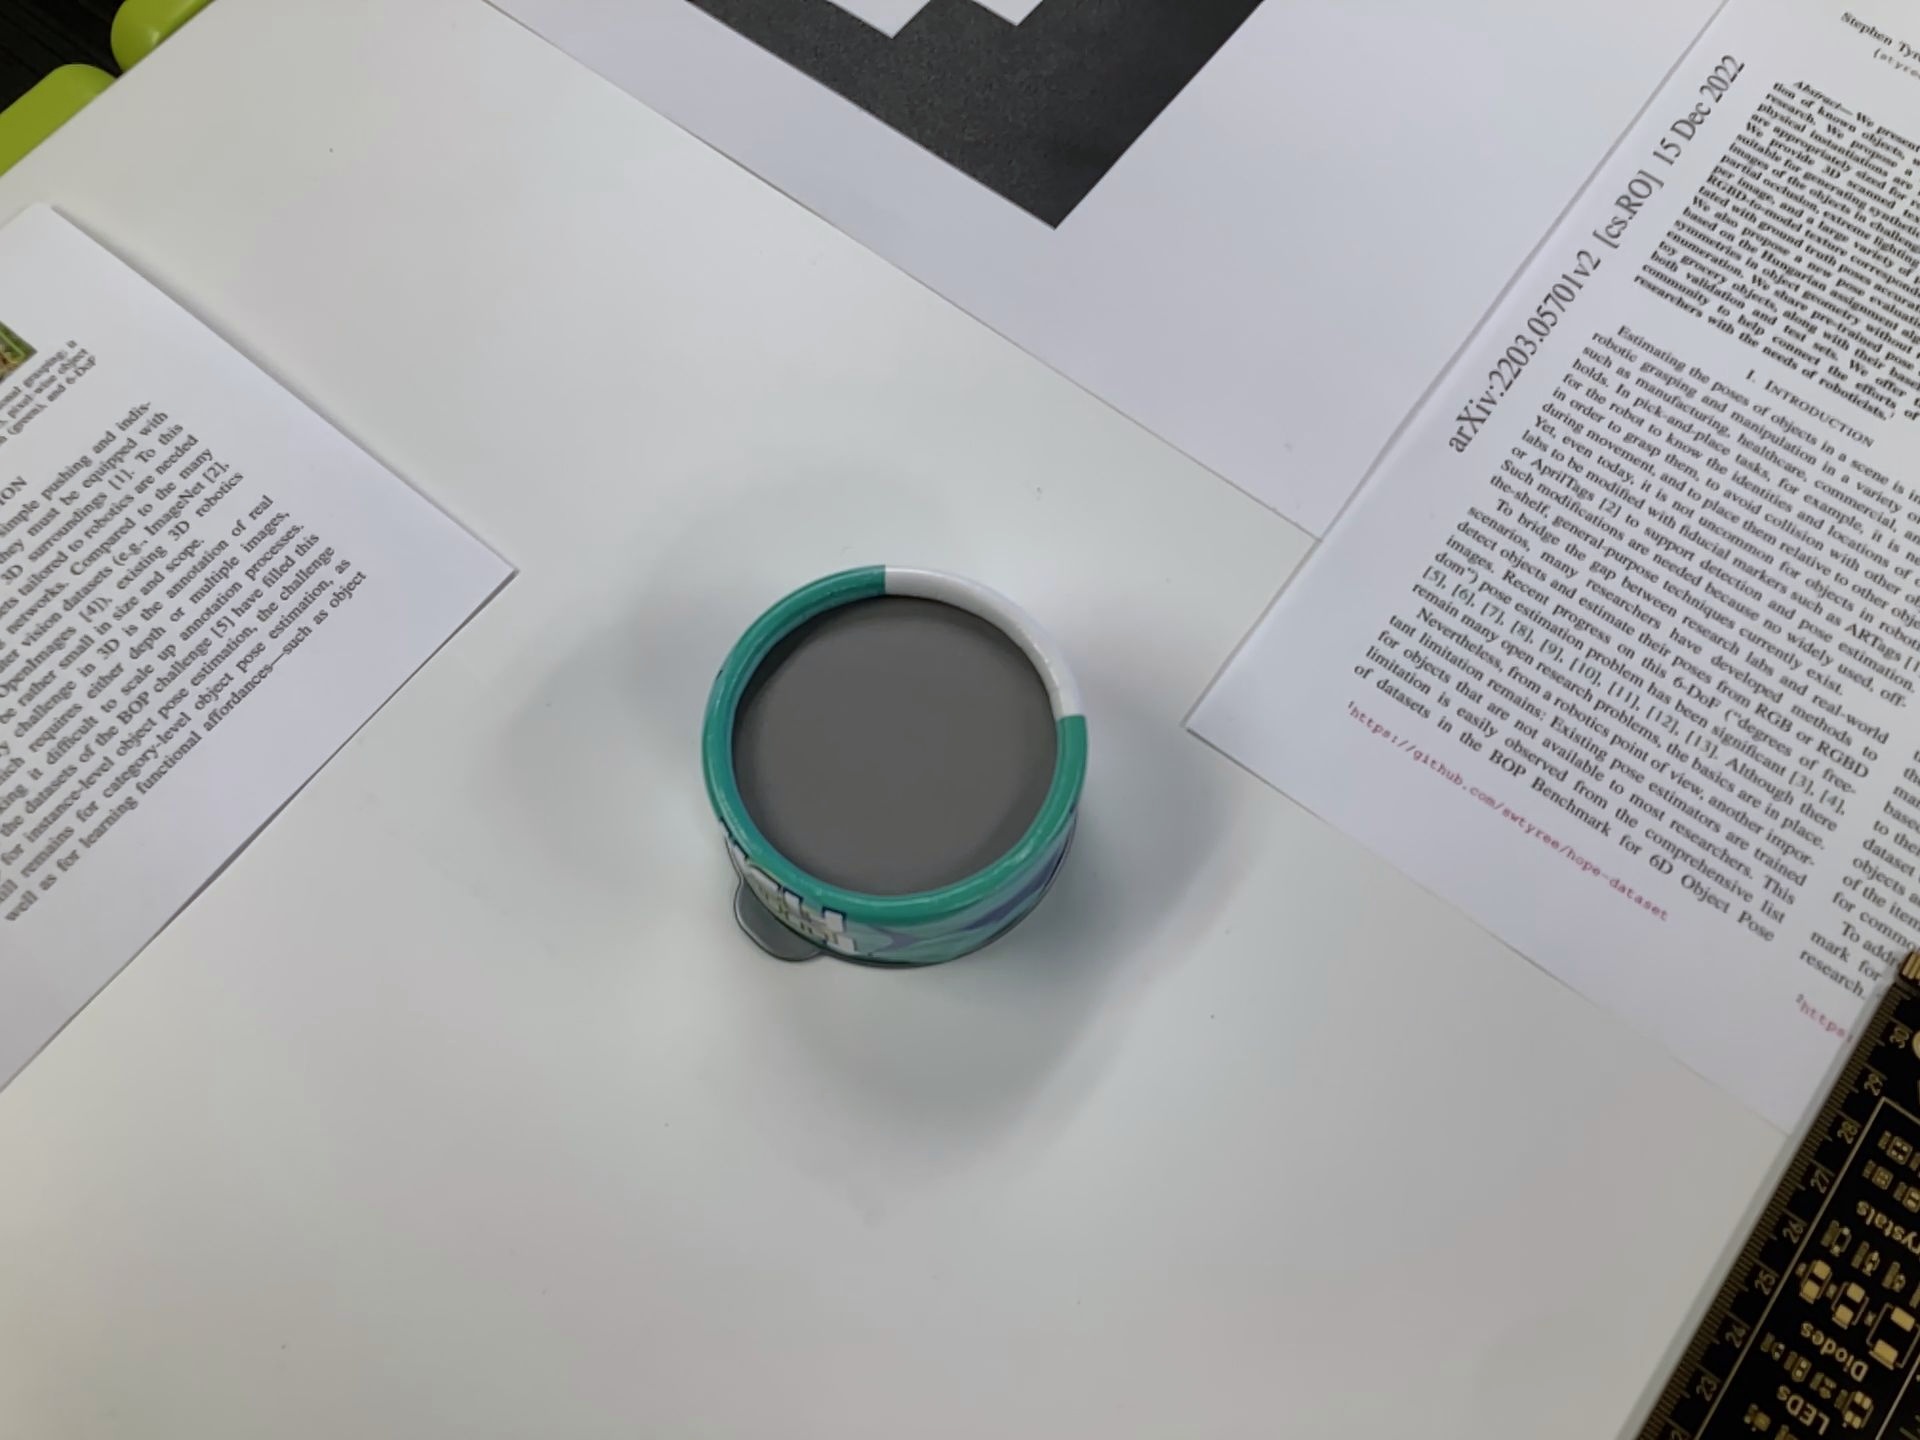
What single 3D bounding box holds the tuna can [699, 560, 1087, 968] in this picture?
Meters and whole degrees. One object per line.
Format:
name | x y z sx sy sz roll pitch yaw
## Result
tuna can | -0.013 0.009 0.277 0.071 0.033 0.071 -1 68 1
